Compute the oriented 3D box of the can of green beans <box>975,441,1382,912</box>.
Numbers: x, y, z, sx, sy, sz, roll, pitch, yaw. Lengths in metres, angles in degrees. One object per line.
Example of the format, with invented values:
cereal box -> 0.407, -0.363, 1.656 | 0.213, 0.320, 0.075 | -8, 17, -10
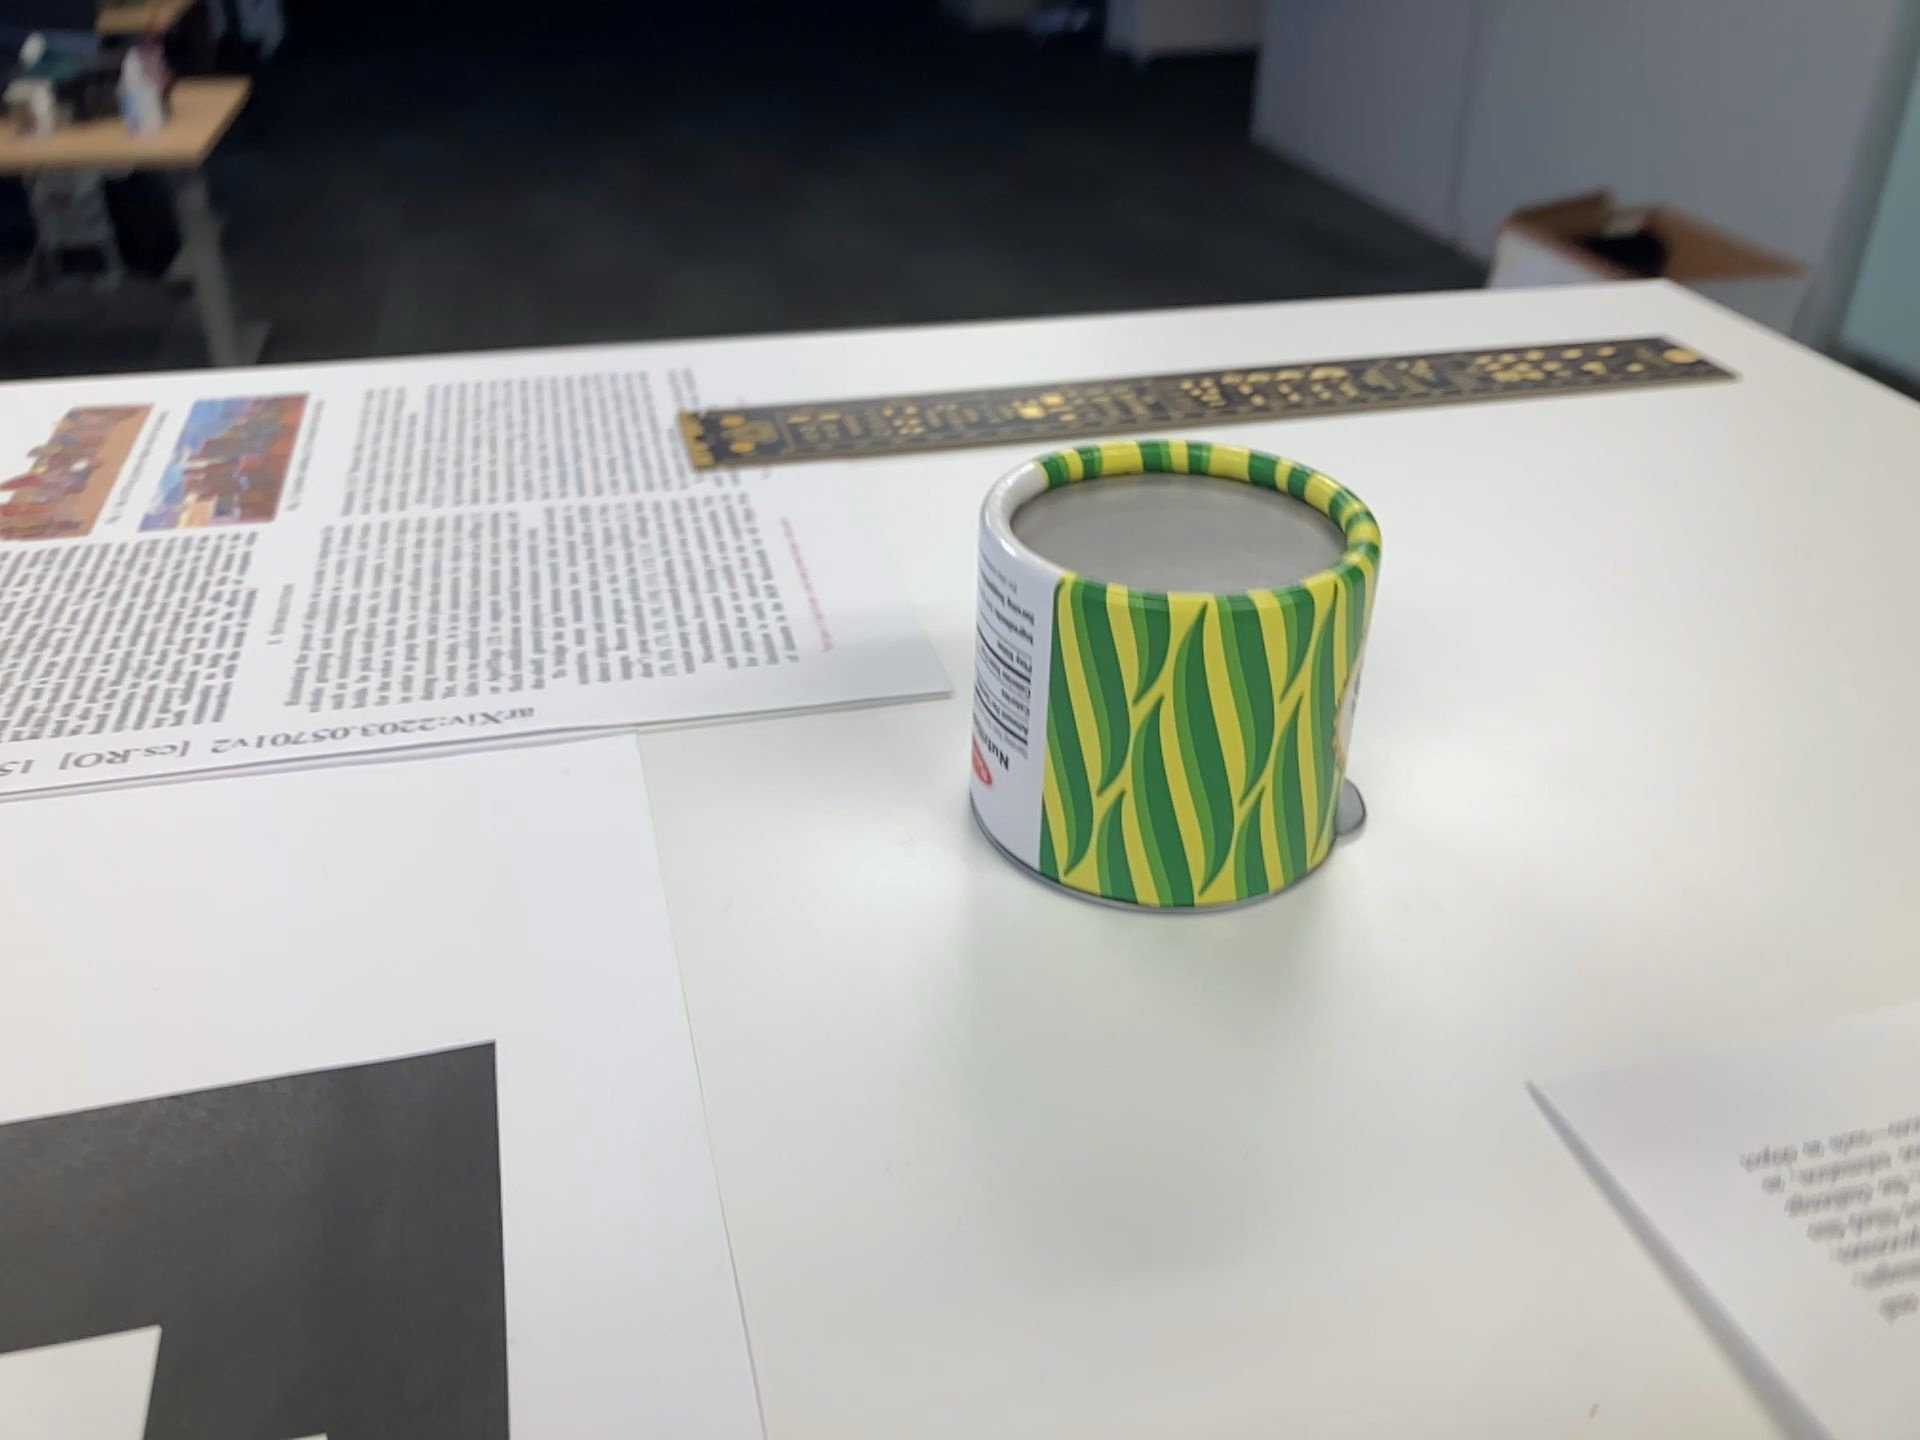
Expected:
can of green beans -> 0.036, -0.010, 0.278 | 0.071, 0.058, 0.071 | 1, 31, 0
